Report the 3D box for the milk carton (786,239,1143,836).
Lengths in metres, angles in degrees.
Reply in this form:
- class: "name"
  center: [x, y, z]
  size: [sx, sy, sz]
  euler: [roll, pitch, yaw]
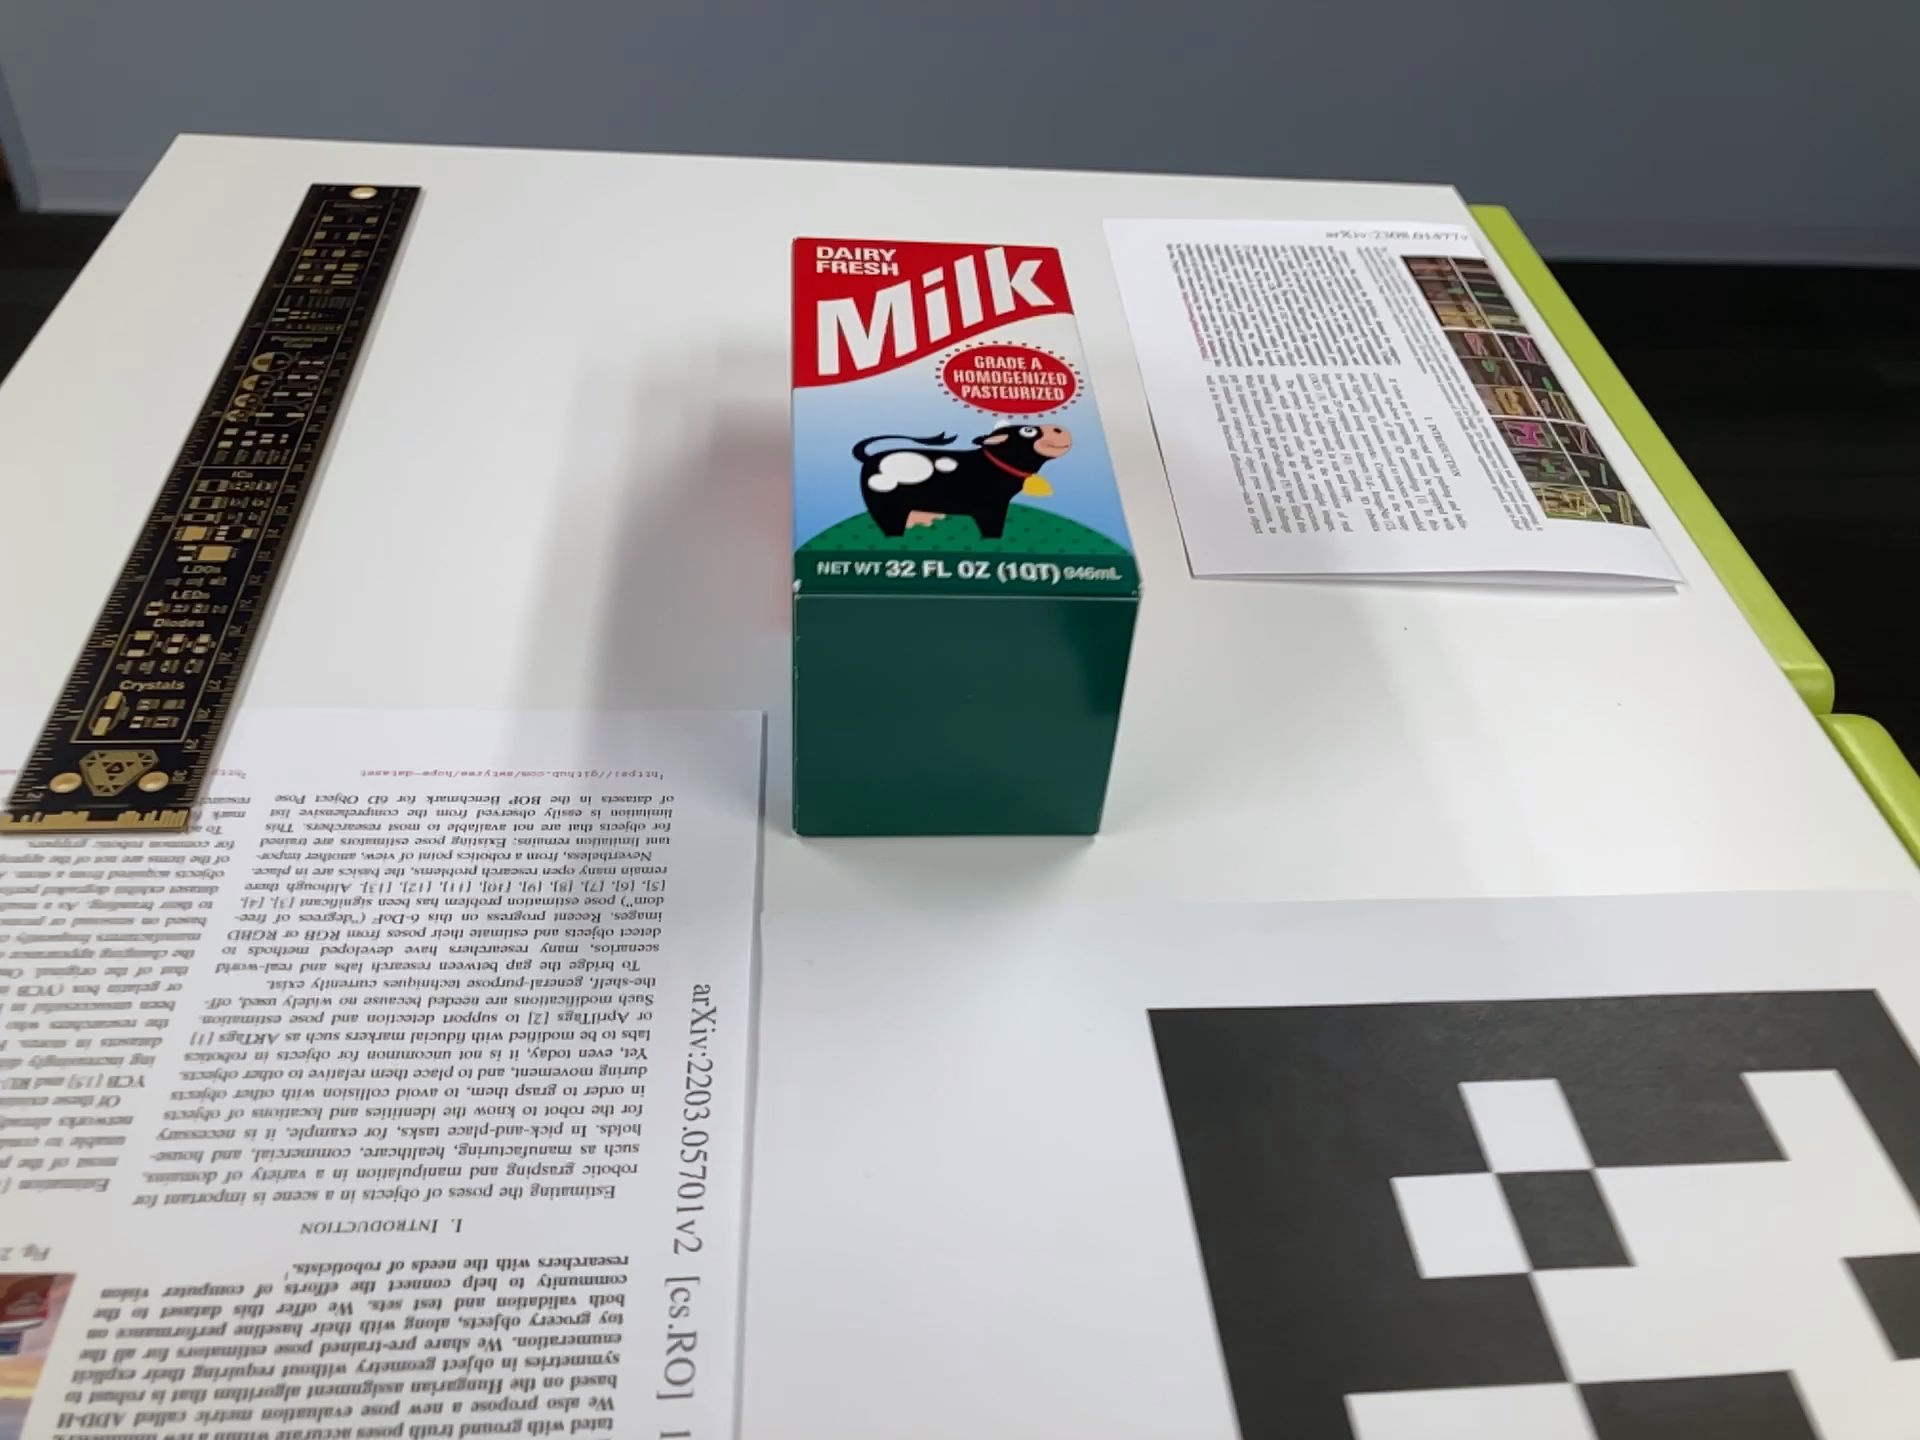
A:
- class: "milk carton"
  center: [-0.007, -0.064, 0.399]
  size: [0.072, 0.073, 0.190]
  euler: [-1, 42, -5]
